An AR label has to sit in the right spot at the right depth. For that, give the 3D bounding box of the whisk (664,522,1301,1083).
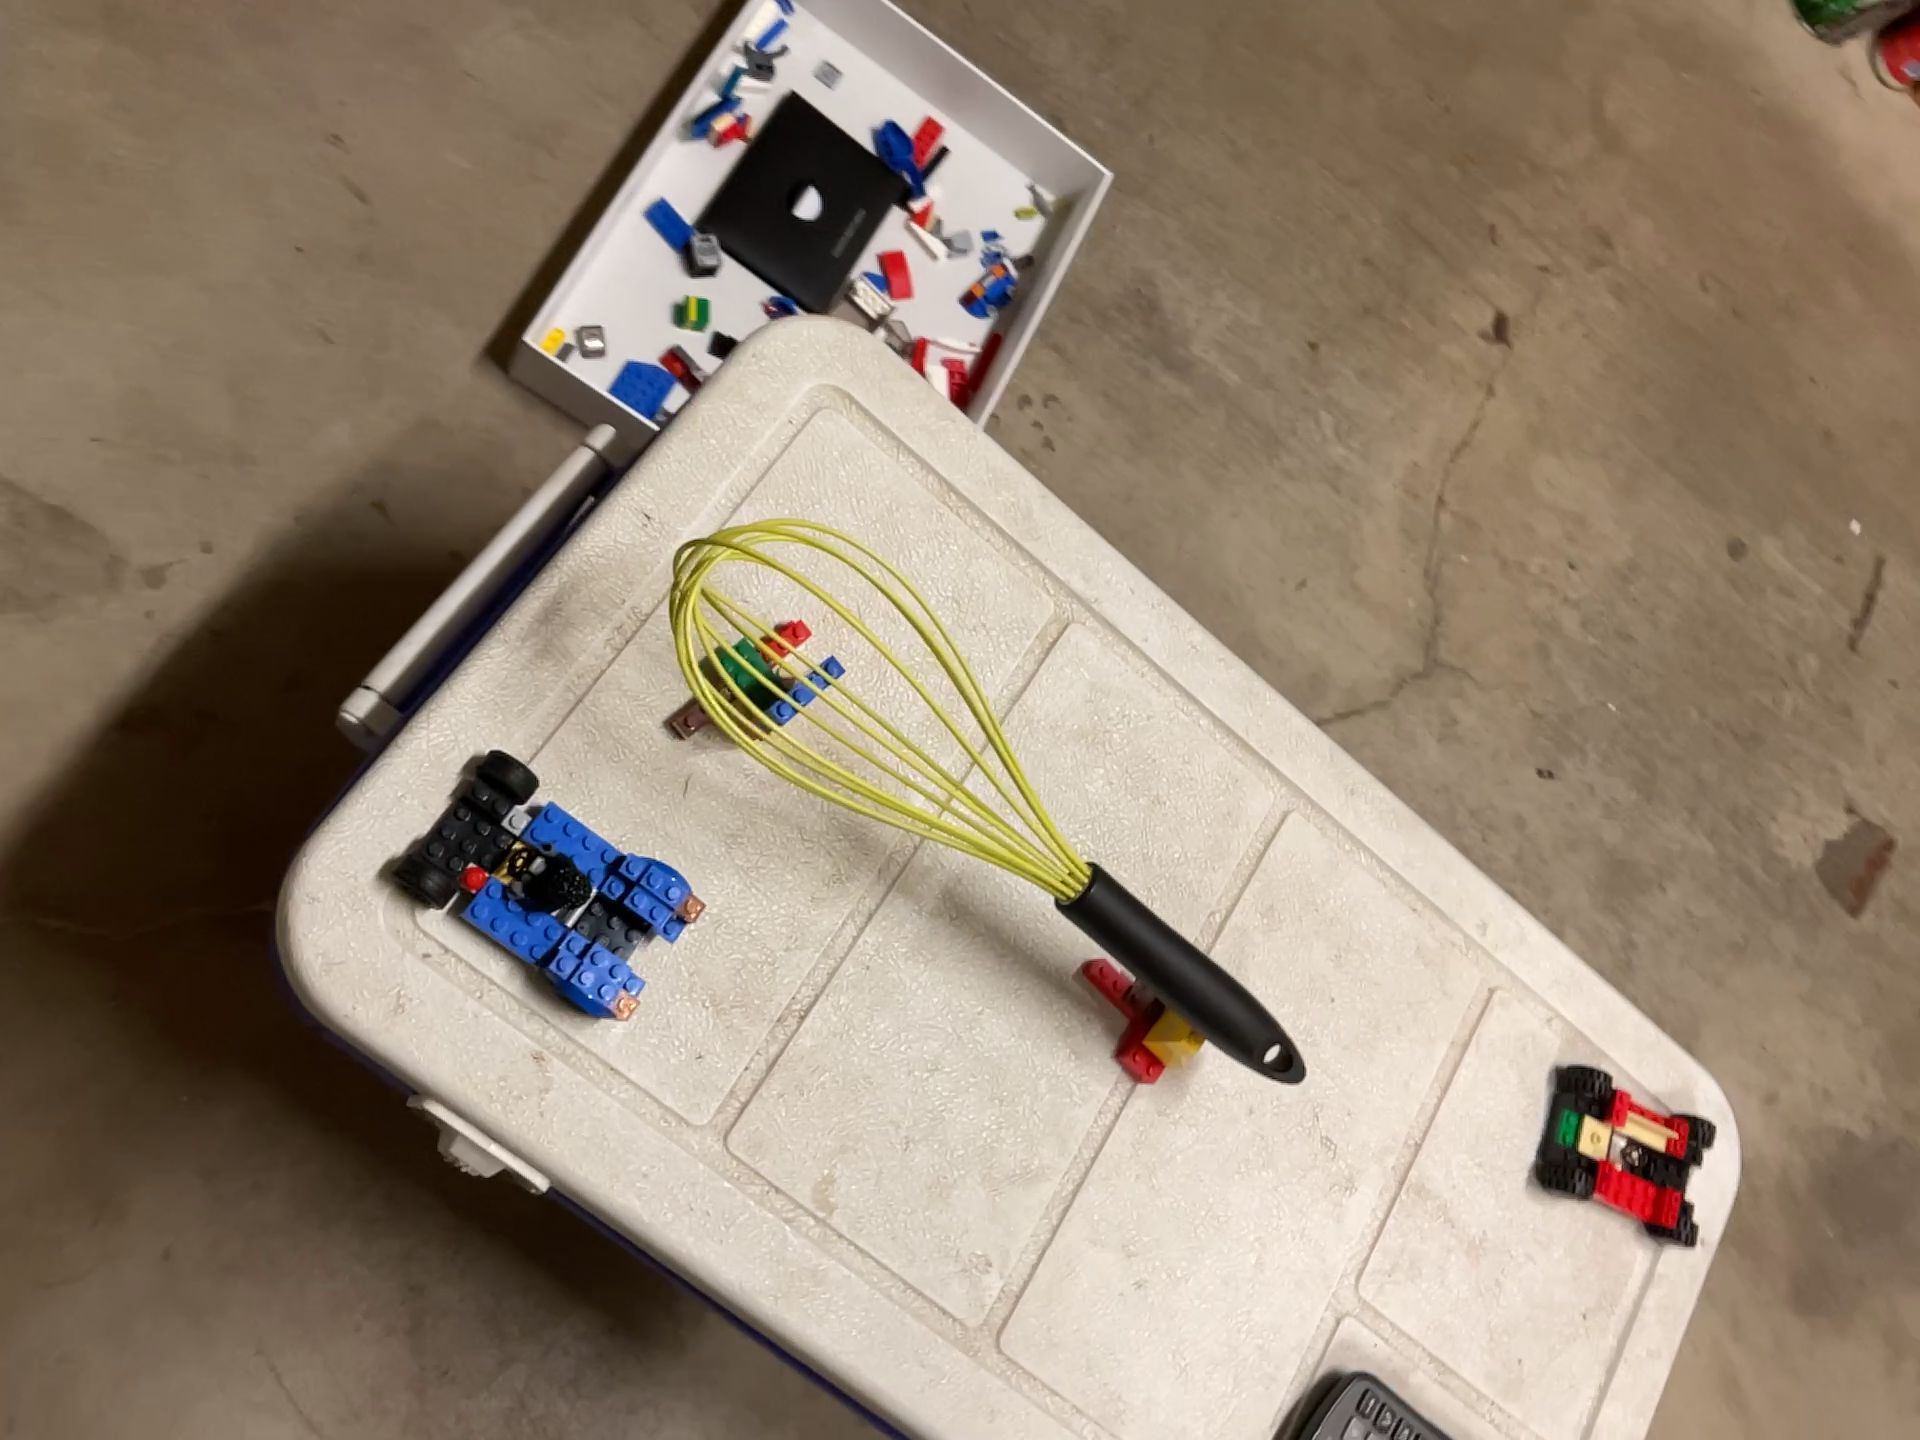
[{"bbox_3d":[0.020,0.040,0.562,0.080,0.067,0.311,-41,112,20],"label":"whisk"}]
